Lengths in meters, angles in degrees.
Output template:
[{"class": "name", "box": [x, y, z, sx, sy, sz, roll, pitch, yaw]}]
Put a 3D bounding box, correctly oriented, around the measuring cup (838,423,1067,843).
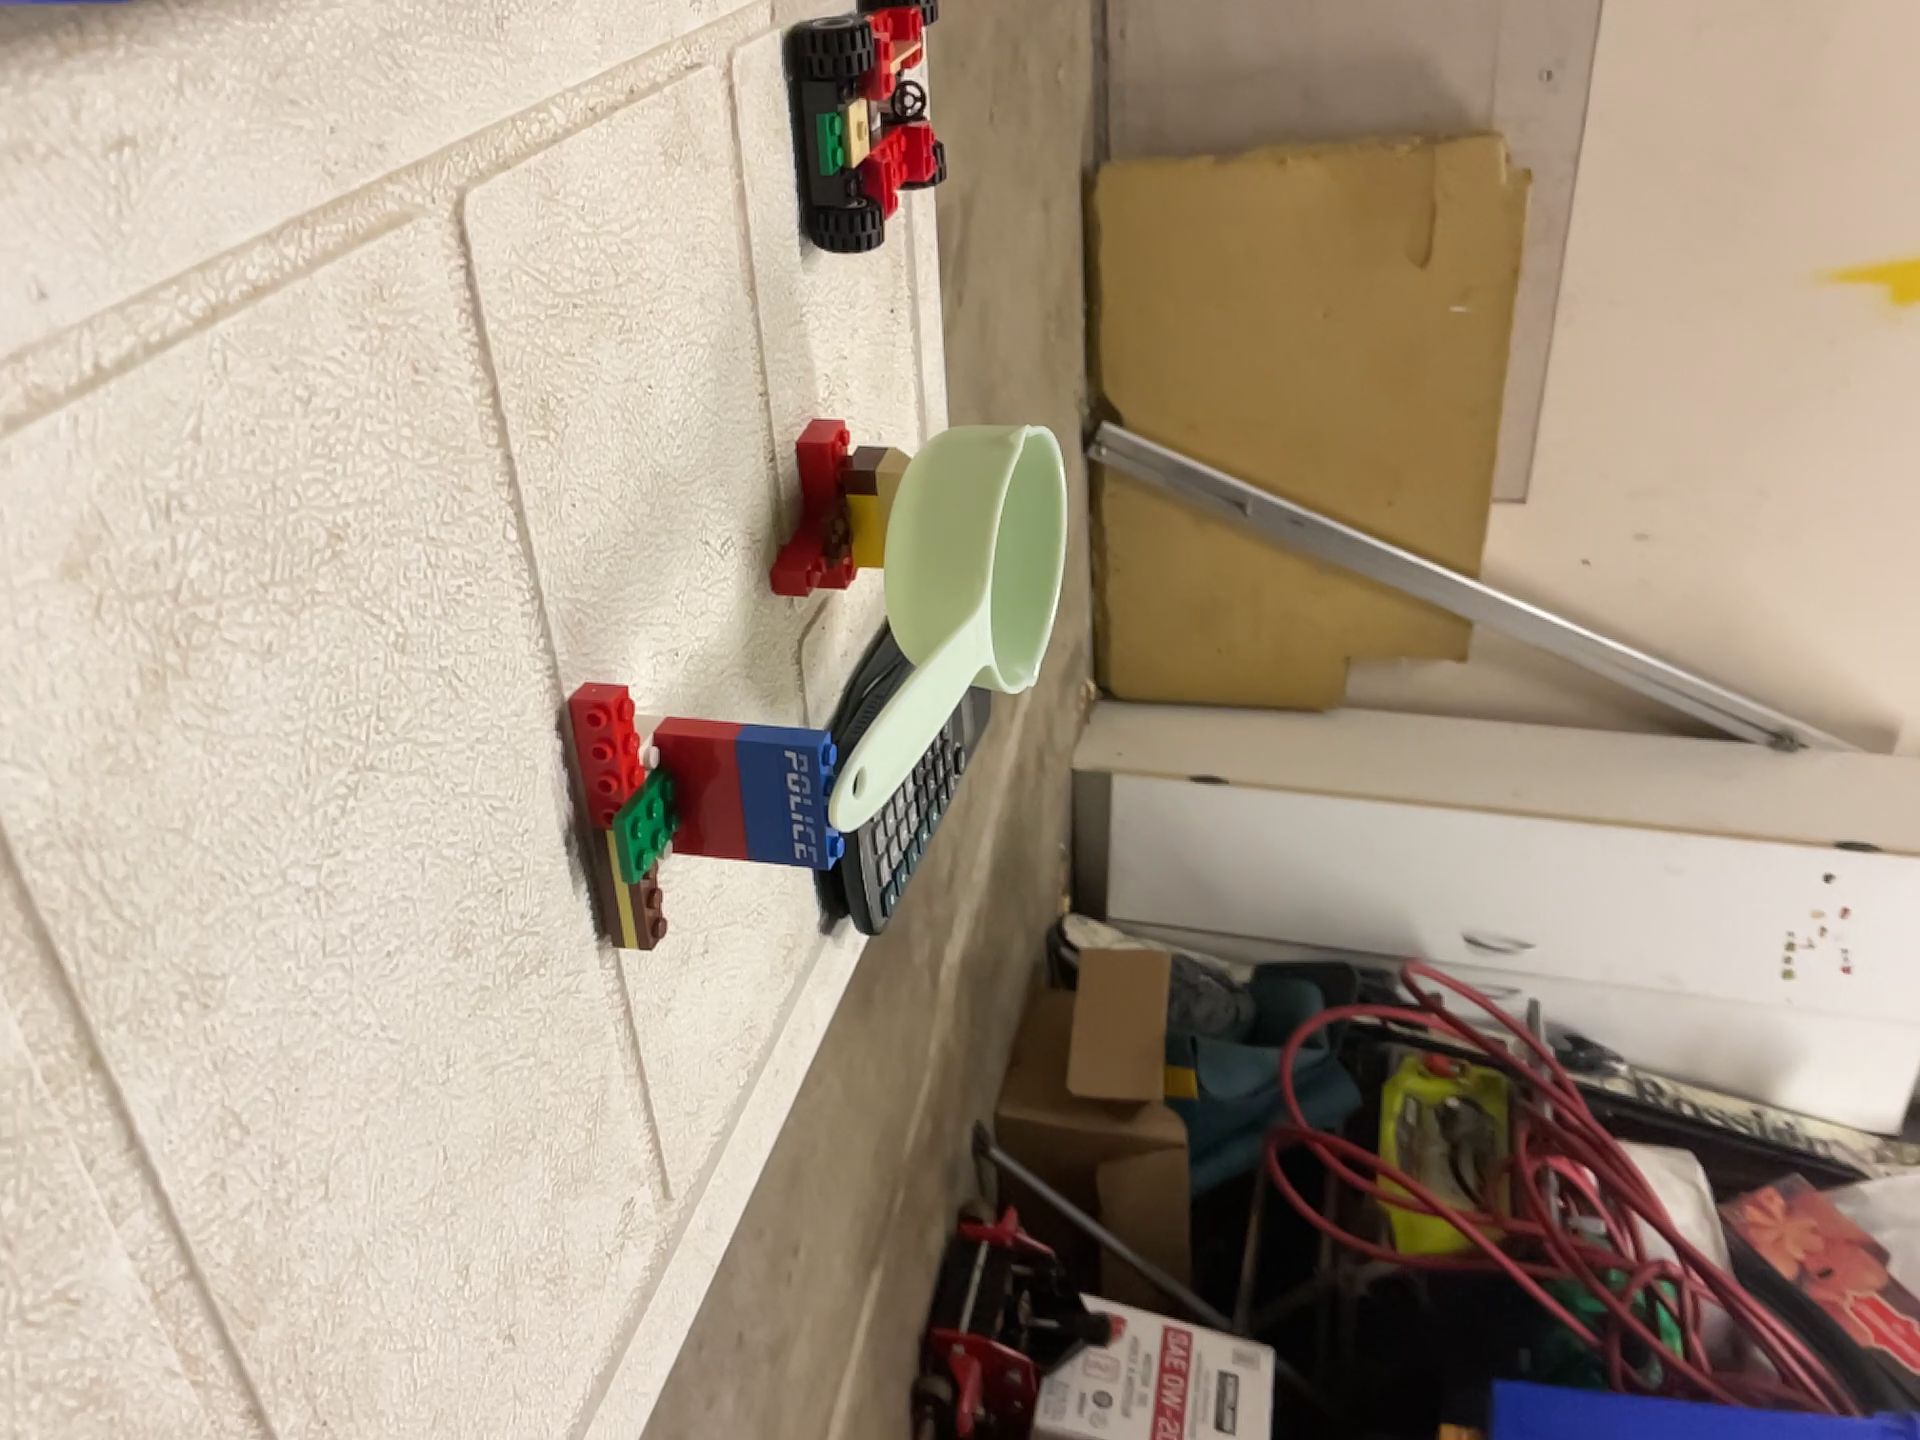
[{"class": "measuring cup", "box": [-0.012, -0.023, 0.424, 0.168, 0.038, 0.083, -58, 152, -50]}]
